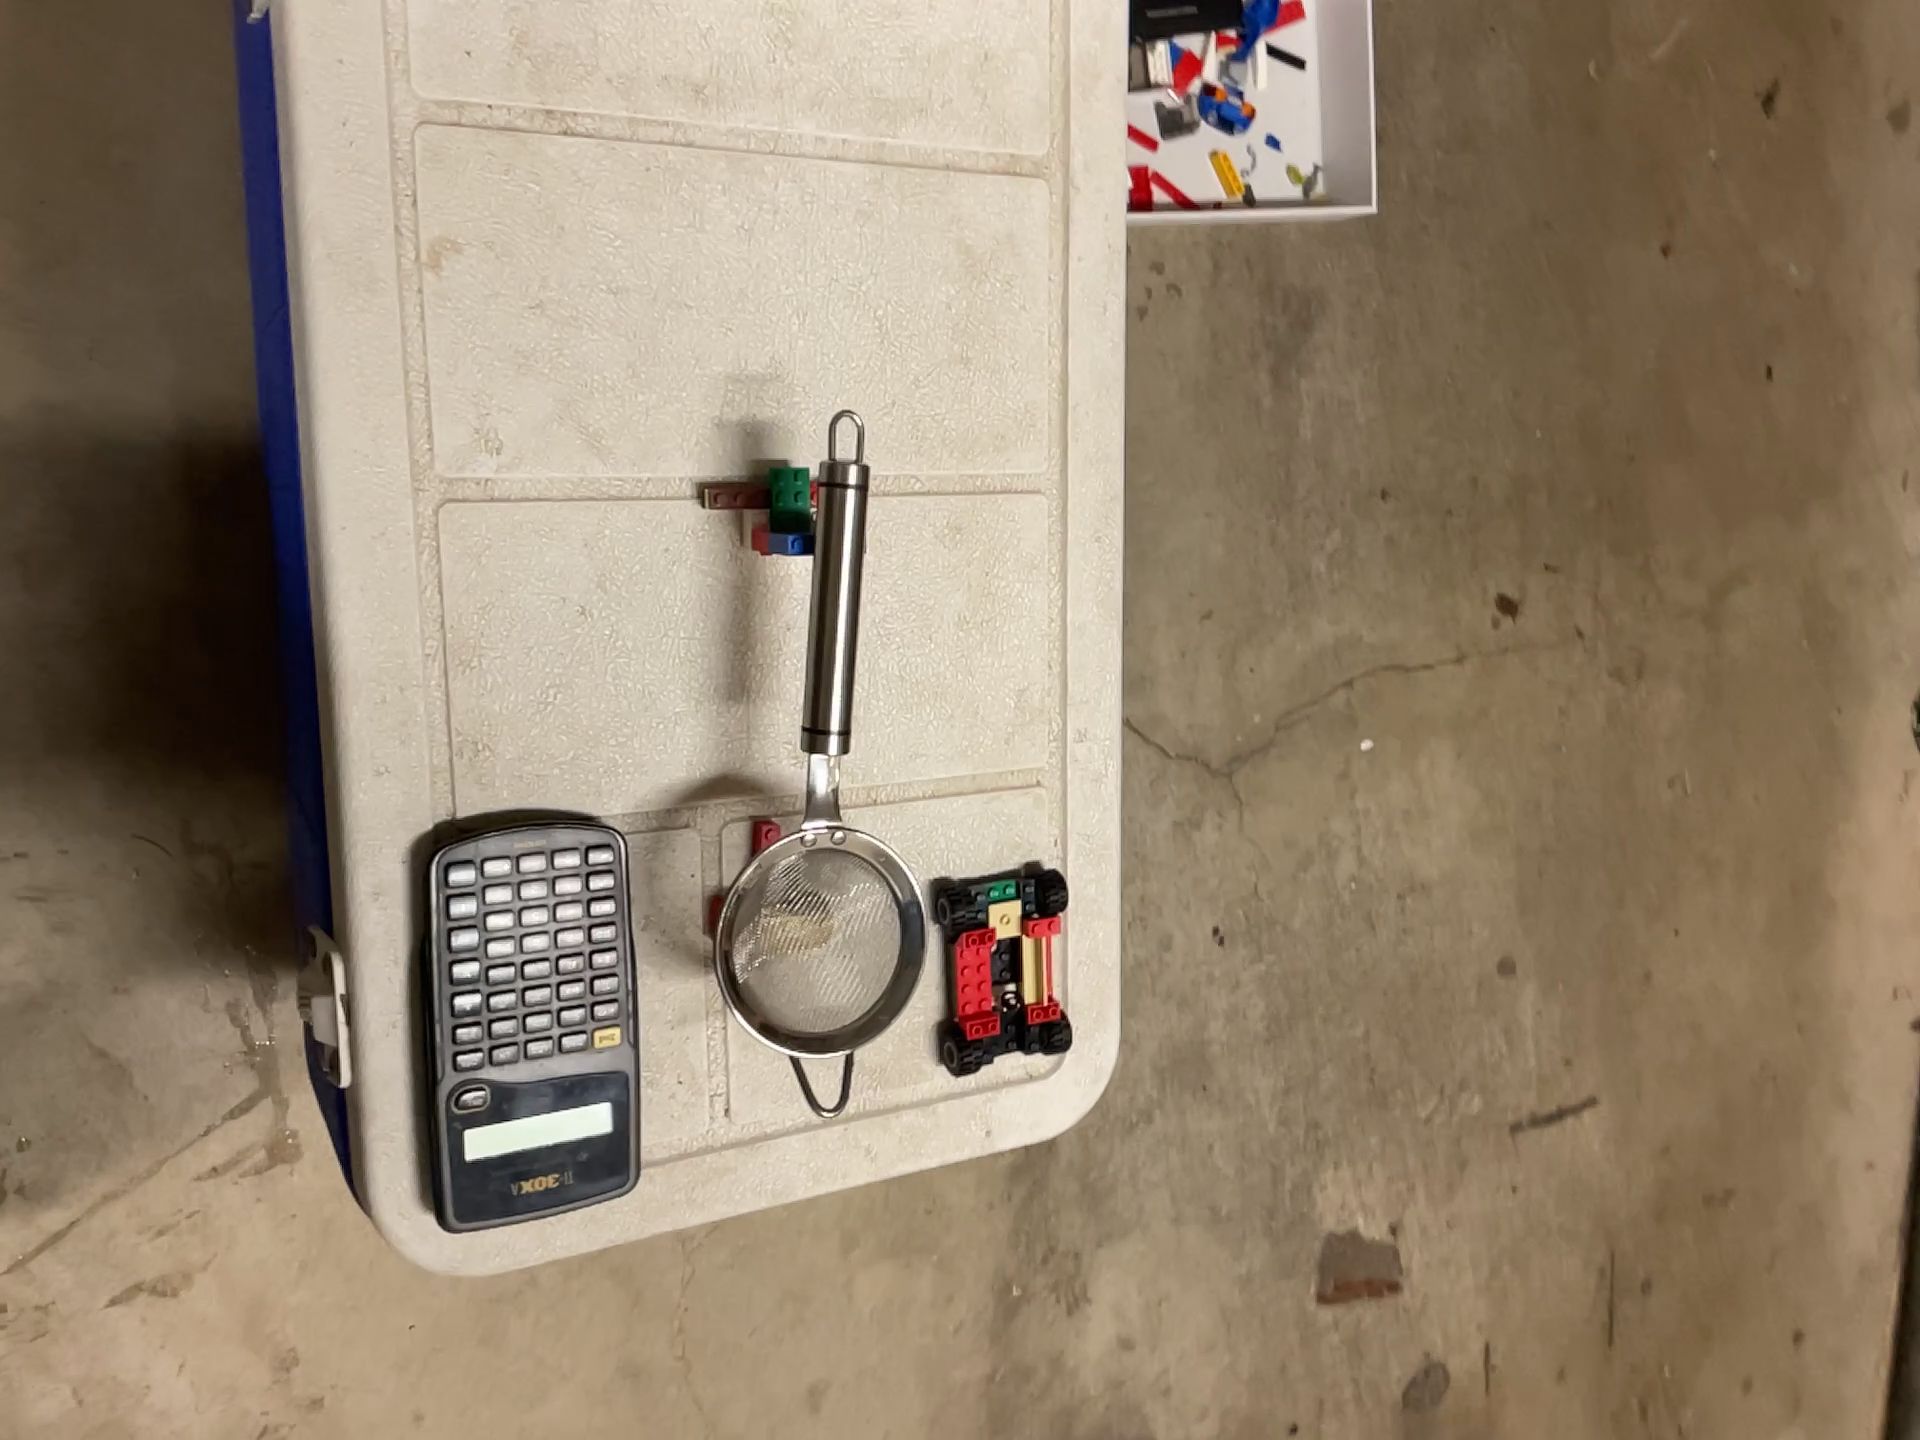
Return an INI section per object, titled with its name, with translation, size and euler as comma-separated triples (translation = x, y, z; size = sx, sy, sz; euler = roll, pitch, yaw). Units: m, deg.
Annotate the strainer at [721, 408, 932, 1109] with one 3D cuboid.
[strainer]
translation = -0.049, 0.013, 0.602
size = 0.087, 0.050, 0.258
euler = 0, 97, -30
